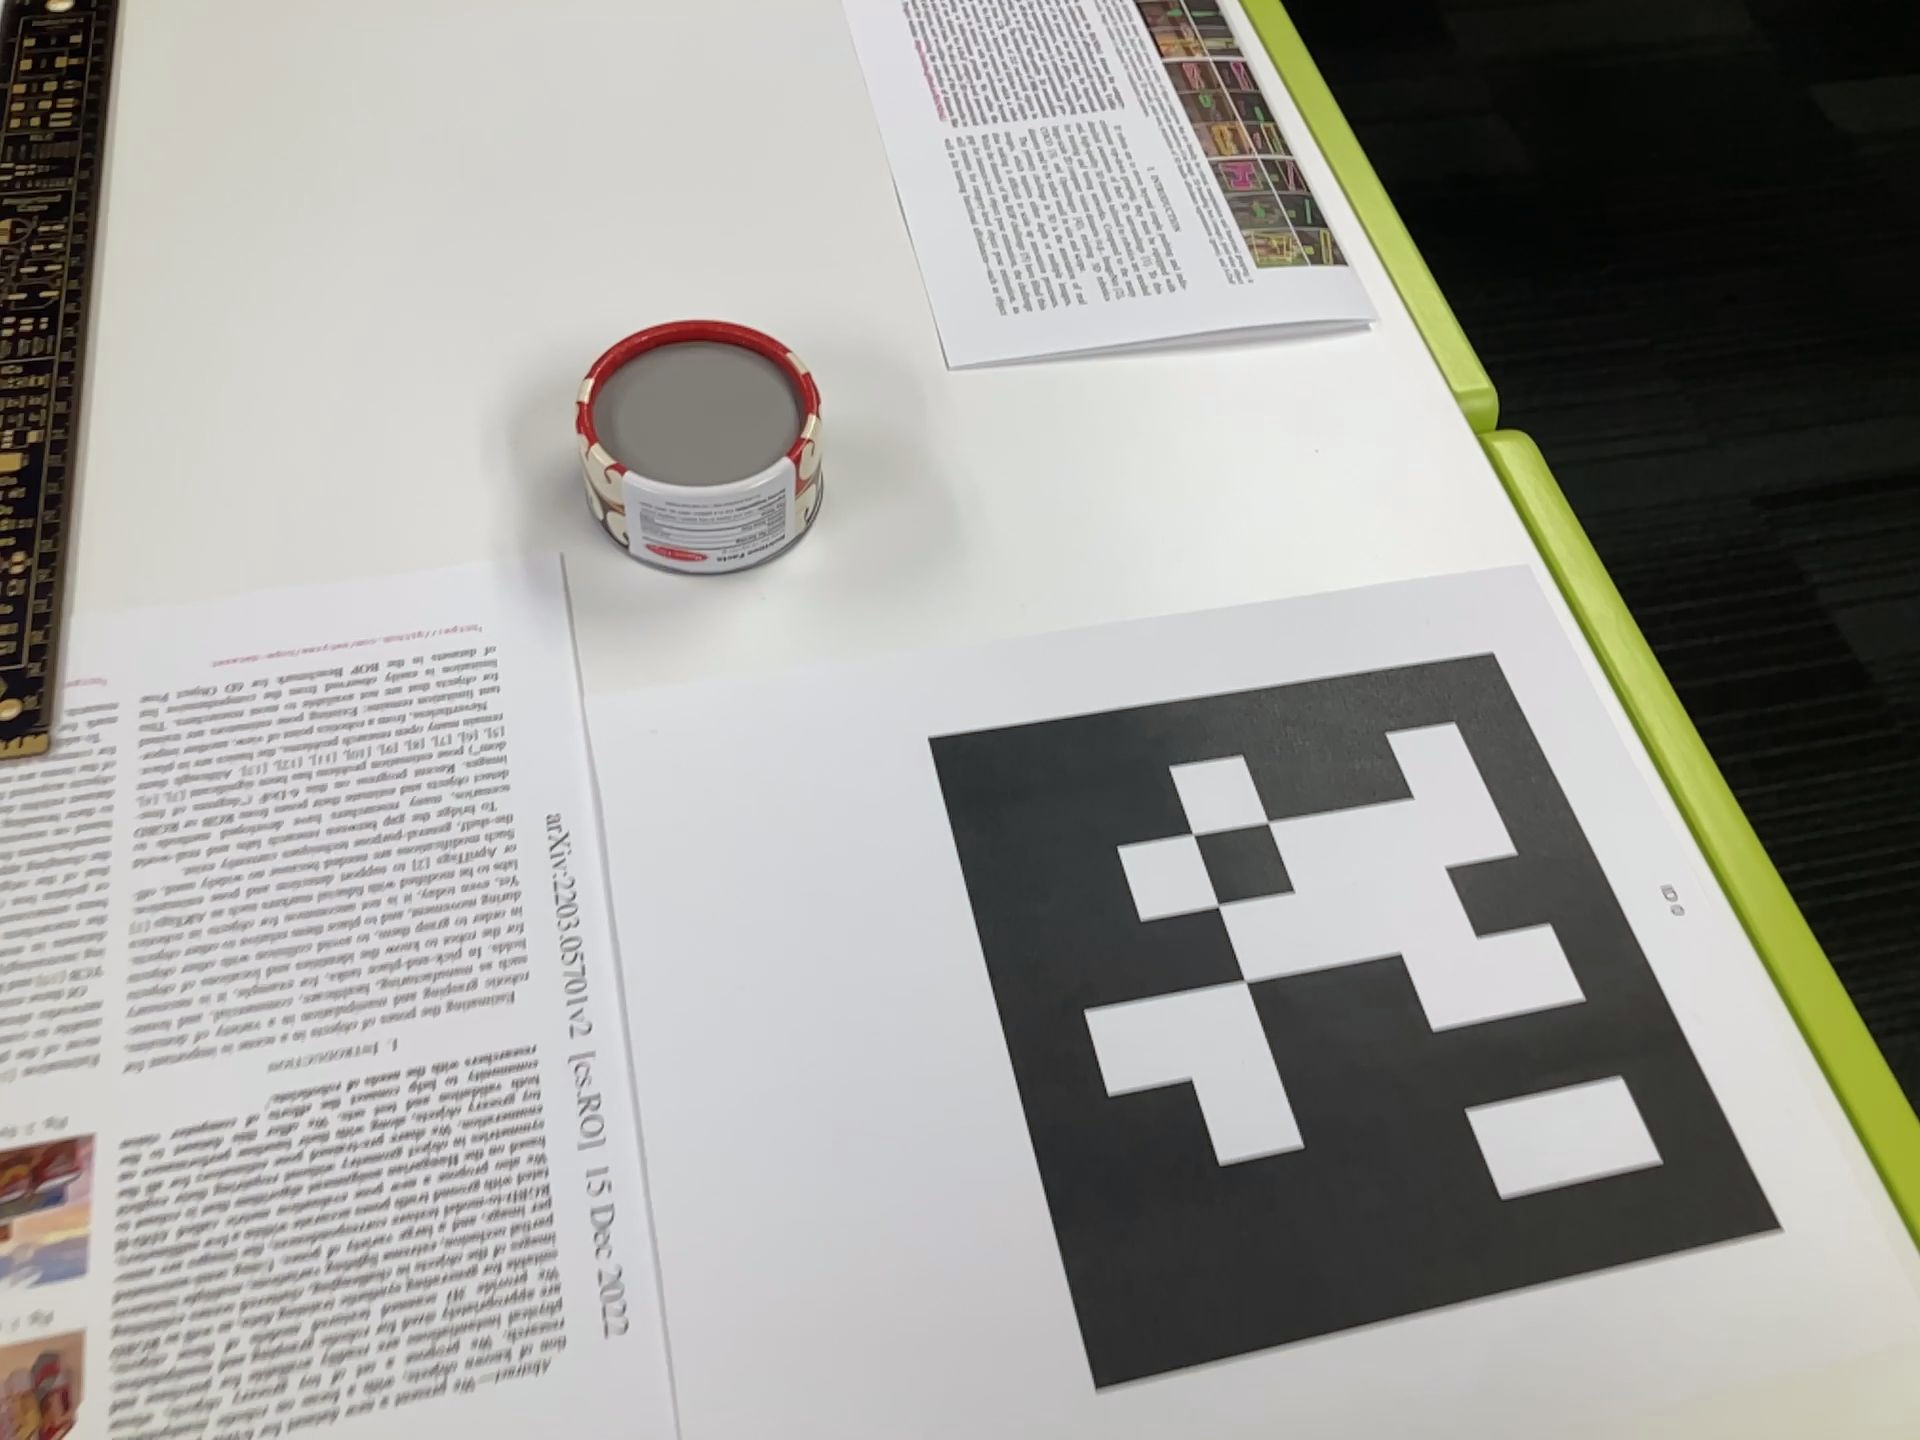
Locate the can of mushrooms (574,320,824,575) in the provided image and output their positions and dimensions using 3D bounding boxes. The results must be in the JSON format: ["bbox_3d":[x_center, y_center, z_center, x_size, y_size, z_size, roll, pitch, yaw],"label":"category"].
[{"bbox_3d":[-0.071,-0.077,0.434,0.071,0.033,0.071,2,56,-3],"label":"can of mushrooms"}]
